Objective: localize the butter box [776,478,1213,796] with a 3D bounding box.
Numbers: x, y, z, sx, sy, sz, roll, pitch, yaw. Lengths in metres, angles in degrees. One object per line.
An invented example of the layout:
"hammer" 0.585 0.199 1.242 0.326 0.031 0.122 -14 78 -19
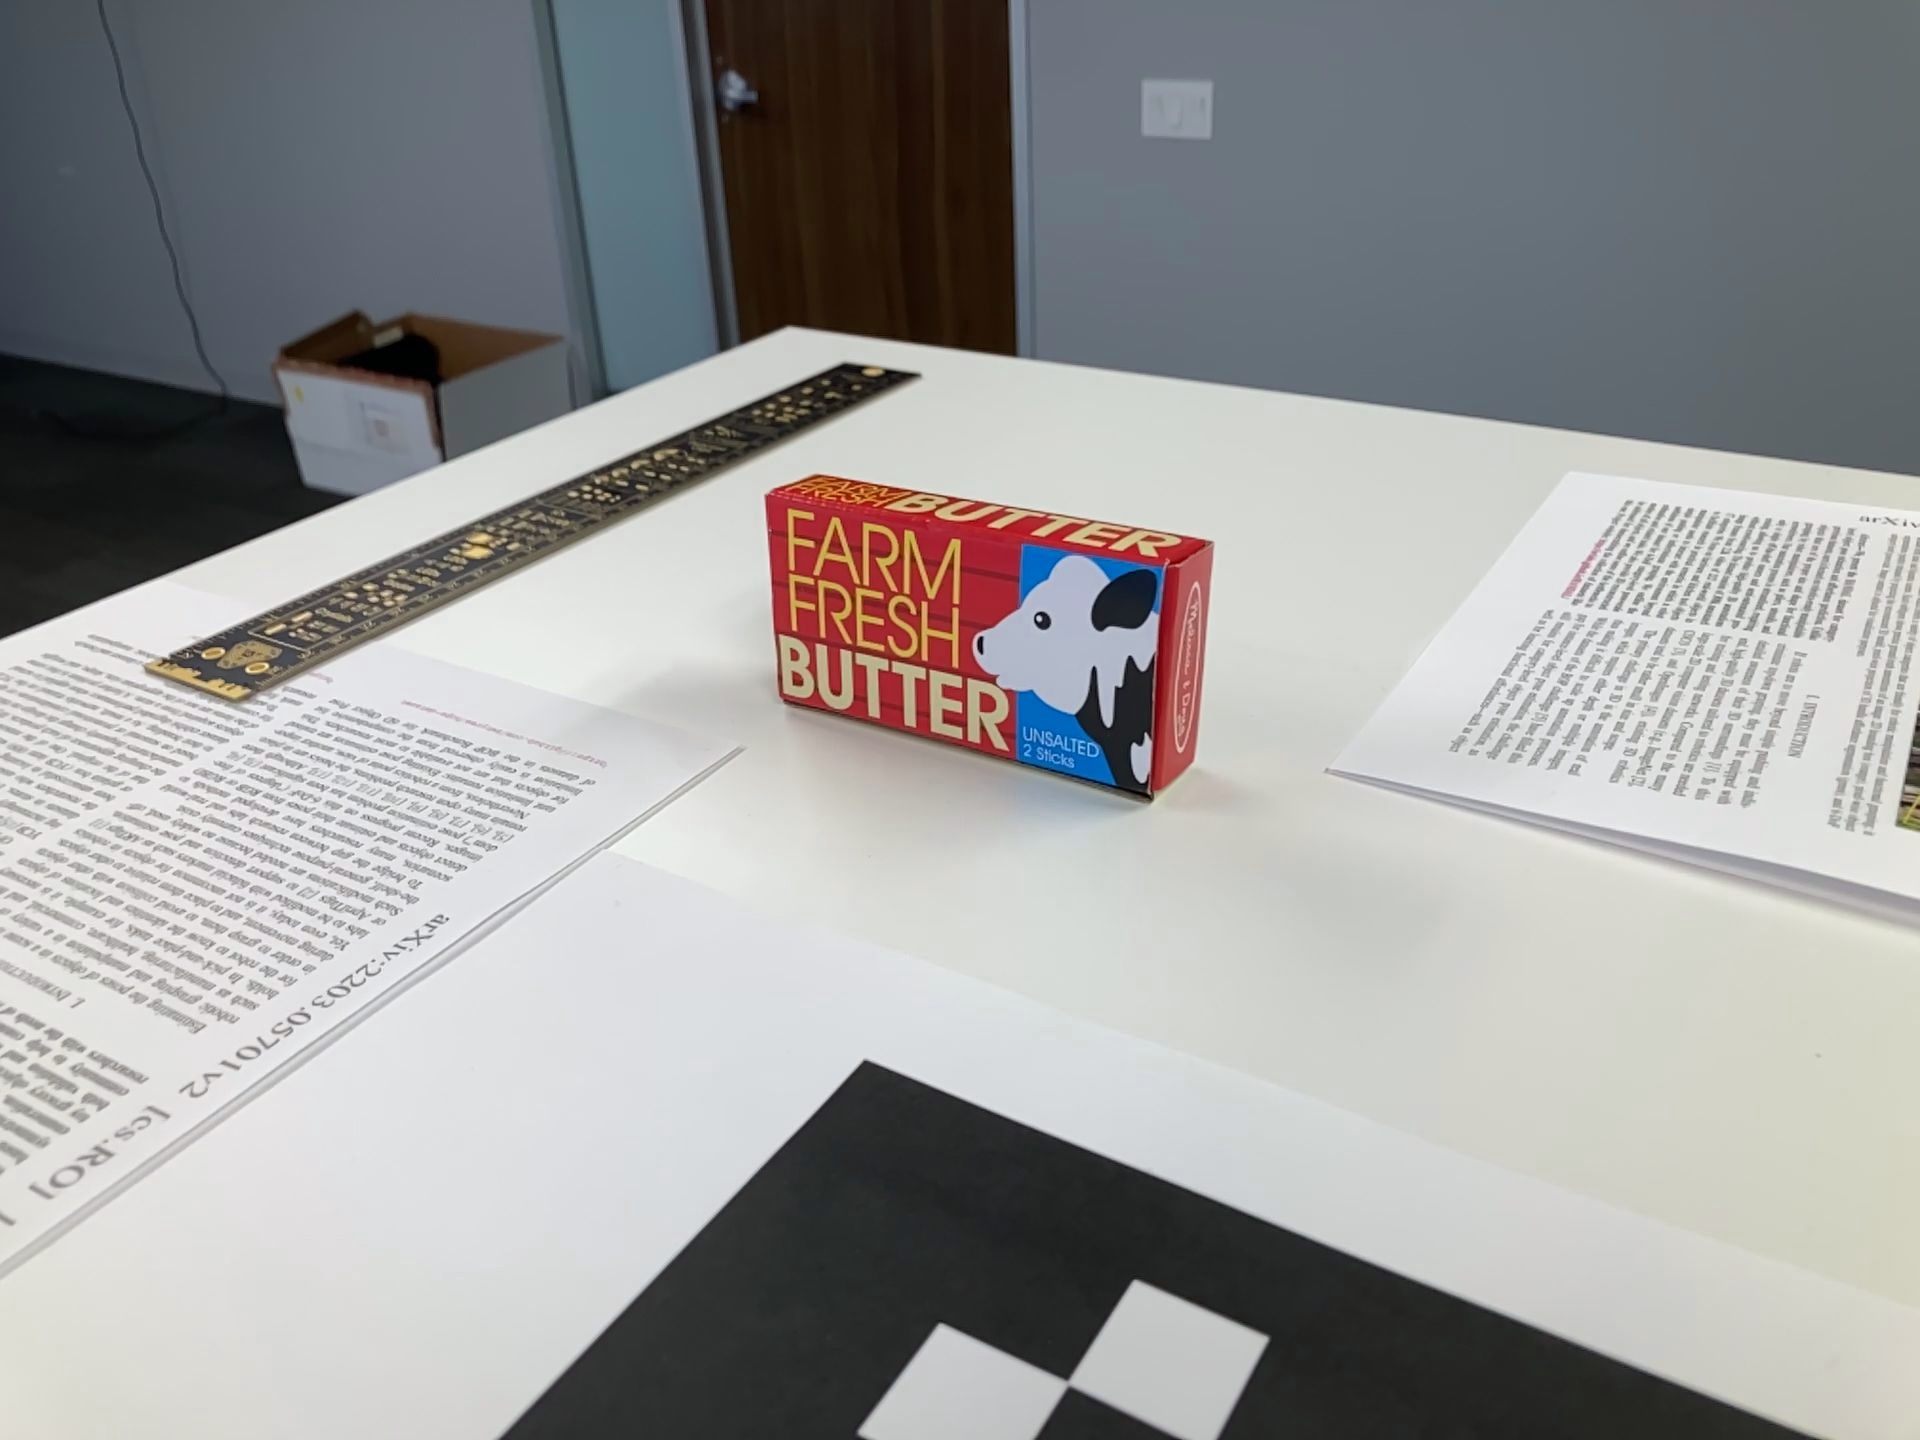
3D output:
"butter box" 0.005 -0.022 0.364 0.103 0.053 0.024 15 27 28
